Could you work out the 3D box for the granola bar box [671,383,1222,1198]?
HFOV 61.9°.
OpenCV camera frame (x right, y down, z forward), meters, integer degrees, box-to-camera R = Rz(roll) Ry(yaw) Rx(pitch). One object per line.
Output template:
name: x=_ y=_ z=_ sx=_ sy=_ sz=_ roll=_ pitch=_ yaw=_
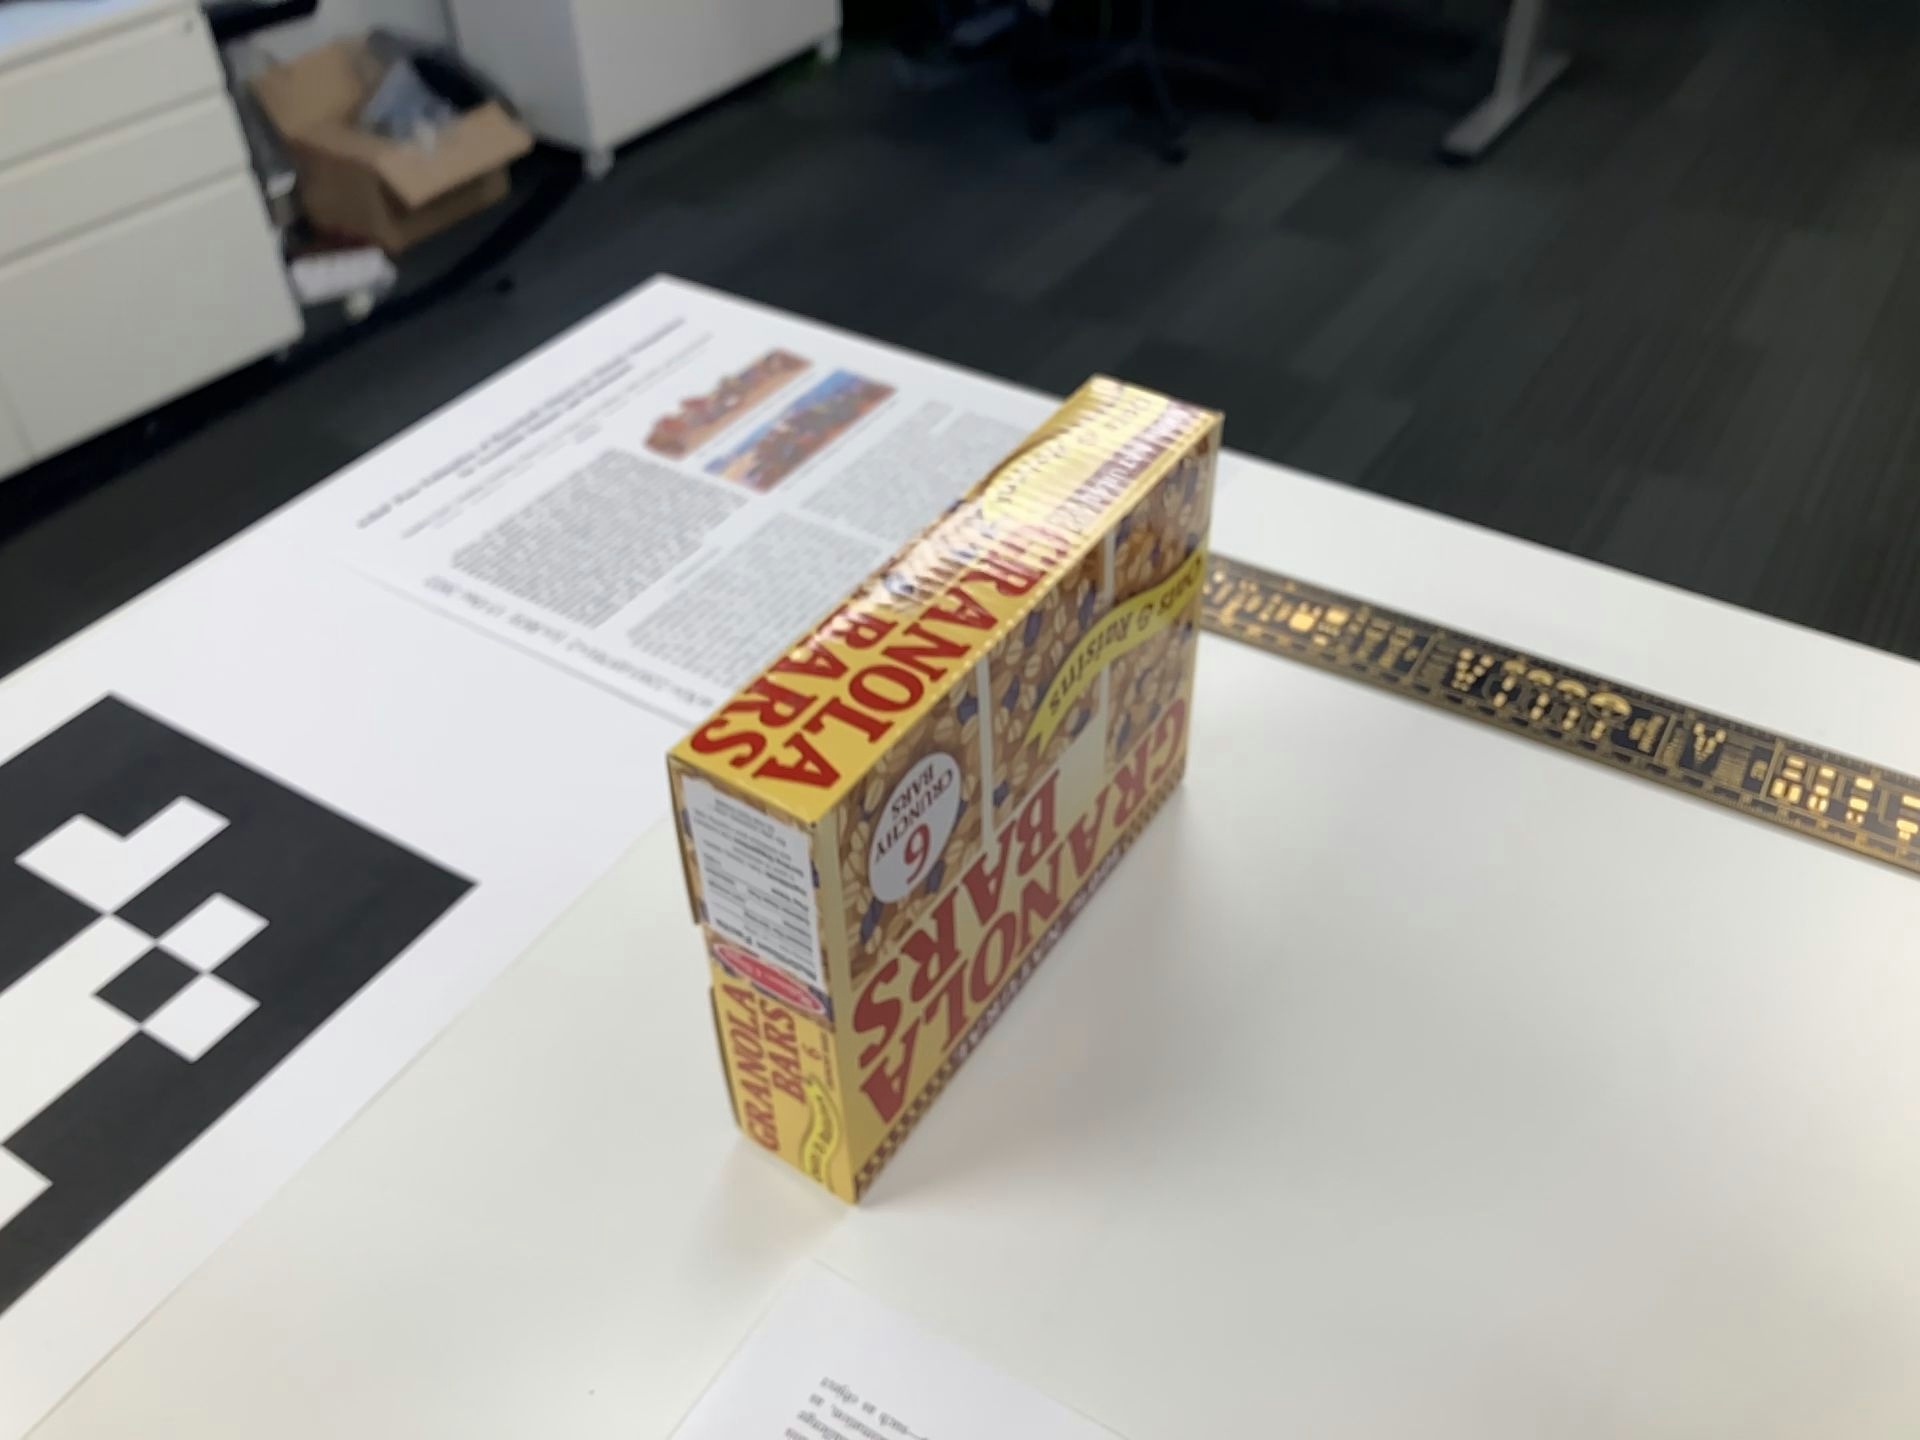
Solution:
granola bar box: x=0.005 y=0.012 z=0.387 sx=0.039 sy=0.124 sz=0.165 roll=22 pitch=47 yaw=25
